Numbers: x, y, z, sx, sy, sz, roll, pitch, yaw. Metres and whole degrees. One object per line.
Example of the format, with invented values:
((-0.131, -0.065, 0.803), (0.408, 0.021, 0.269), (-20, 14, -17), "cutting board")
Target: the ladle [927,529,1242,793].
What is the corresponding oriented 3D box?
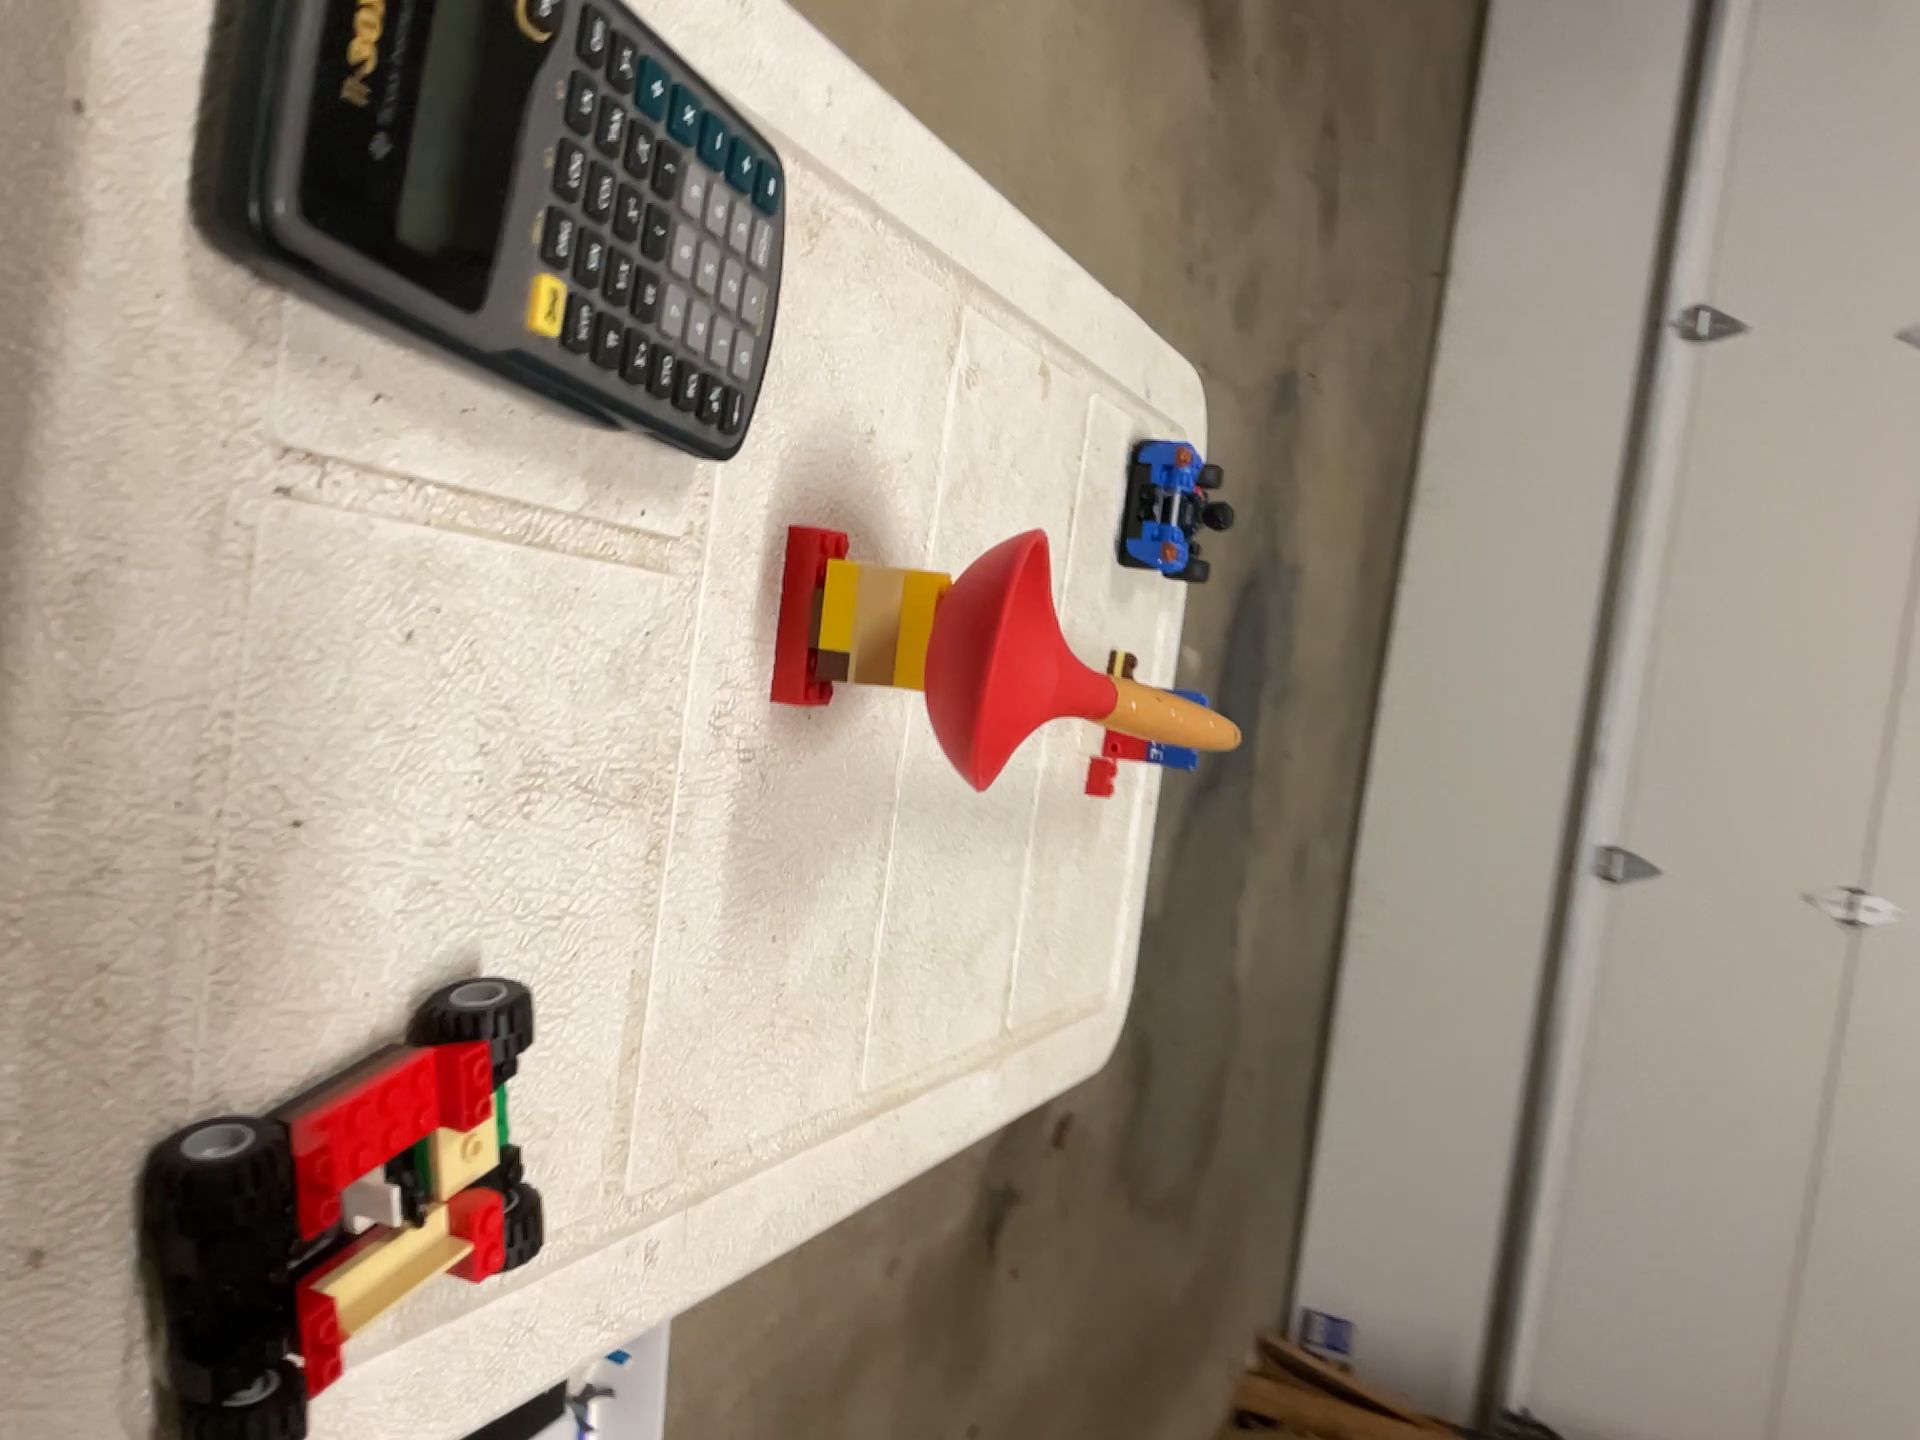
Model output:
((0.054, -0.006, 0.522), (0.315, 0.031, 0.069), (13, 91, -67), "ladle")
